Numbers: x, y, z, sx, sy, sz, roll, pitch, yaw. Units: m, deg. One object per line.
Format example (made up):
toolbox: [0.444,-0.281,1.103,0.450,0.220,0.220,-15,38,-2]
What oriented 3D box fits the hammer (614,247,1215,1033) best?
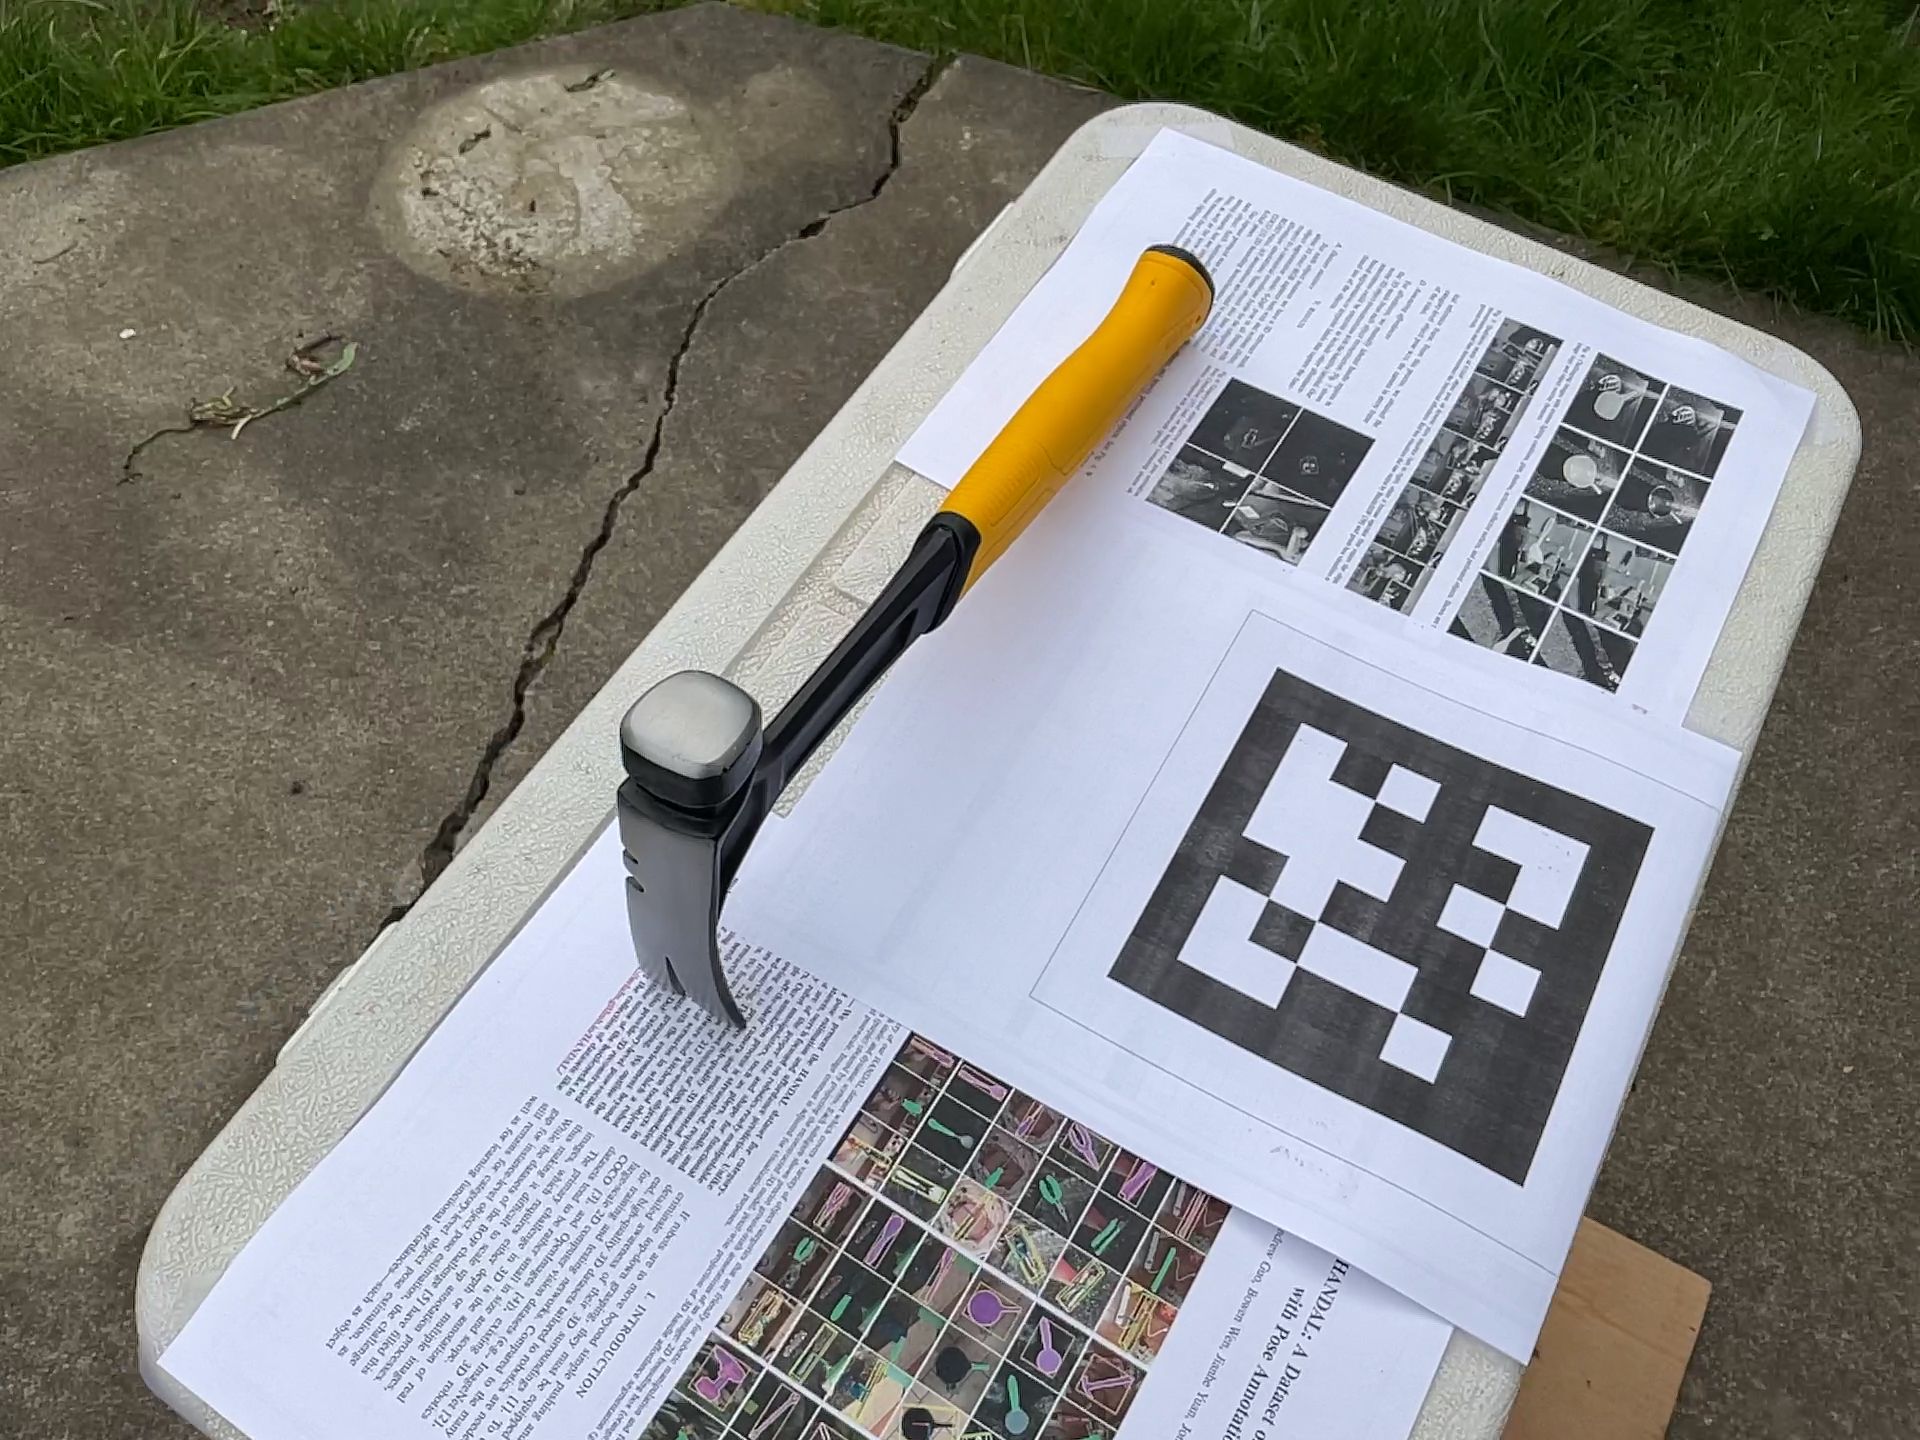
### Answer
hammer: [0.003,-0.054,0.514,0.034,0.127,0.337,26,51,14]
